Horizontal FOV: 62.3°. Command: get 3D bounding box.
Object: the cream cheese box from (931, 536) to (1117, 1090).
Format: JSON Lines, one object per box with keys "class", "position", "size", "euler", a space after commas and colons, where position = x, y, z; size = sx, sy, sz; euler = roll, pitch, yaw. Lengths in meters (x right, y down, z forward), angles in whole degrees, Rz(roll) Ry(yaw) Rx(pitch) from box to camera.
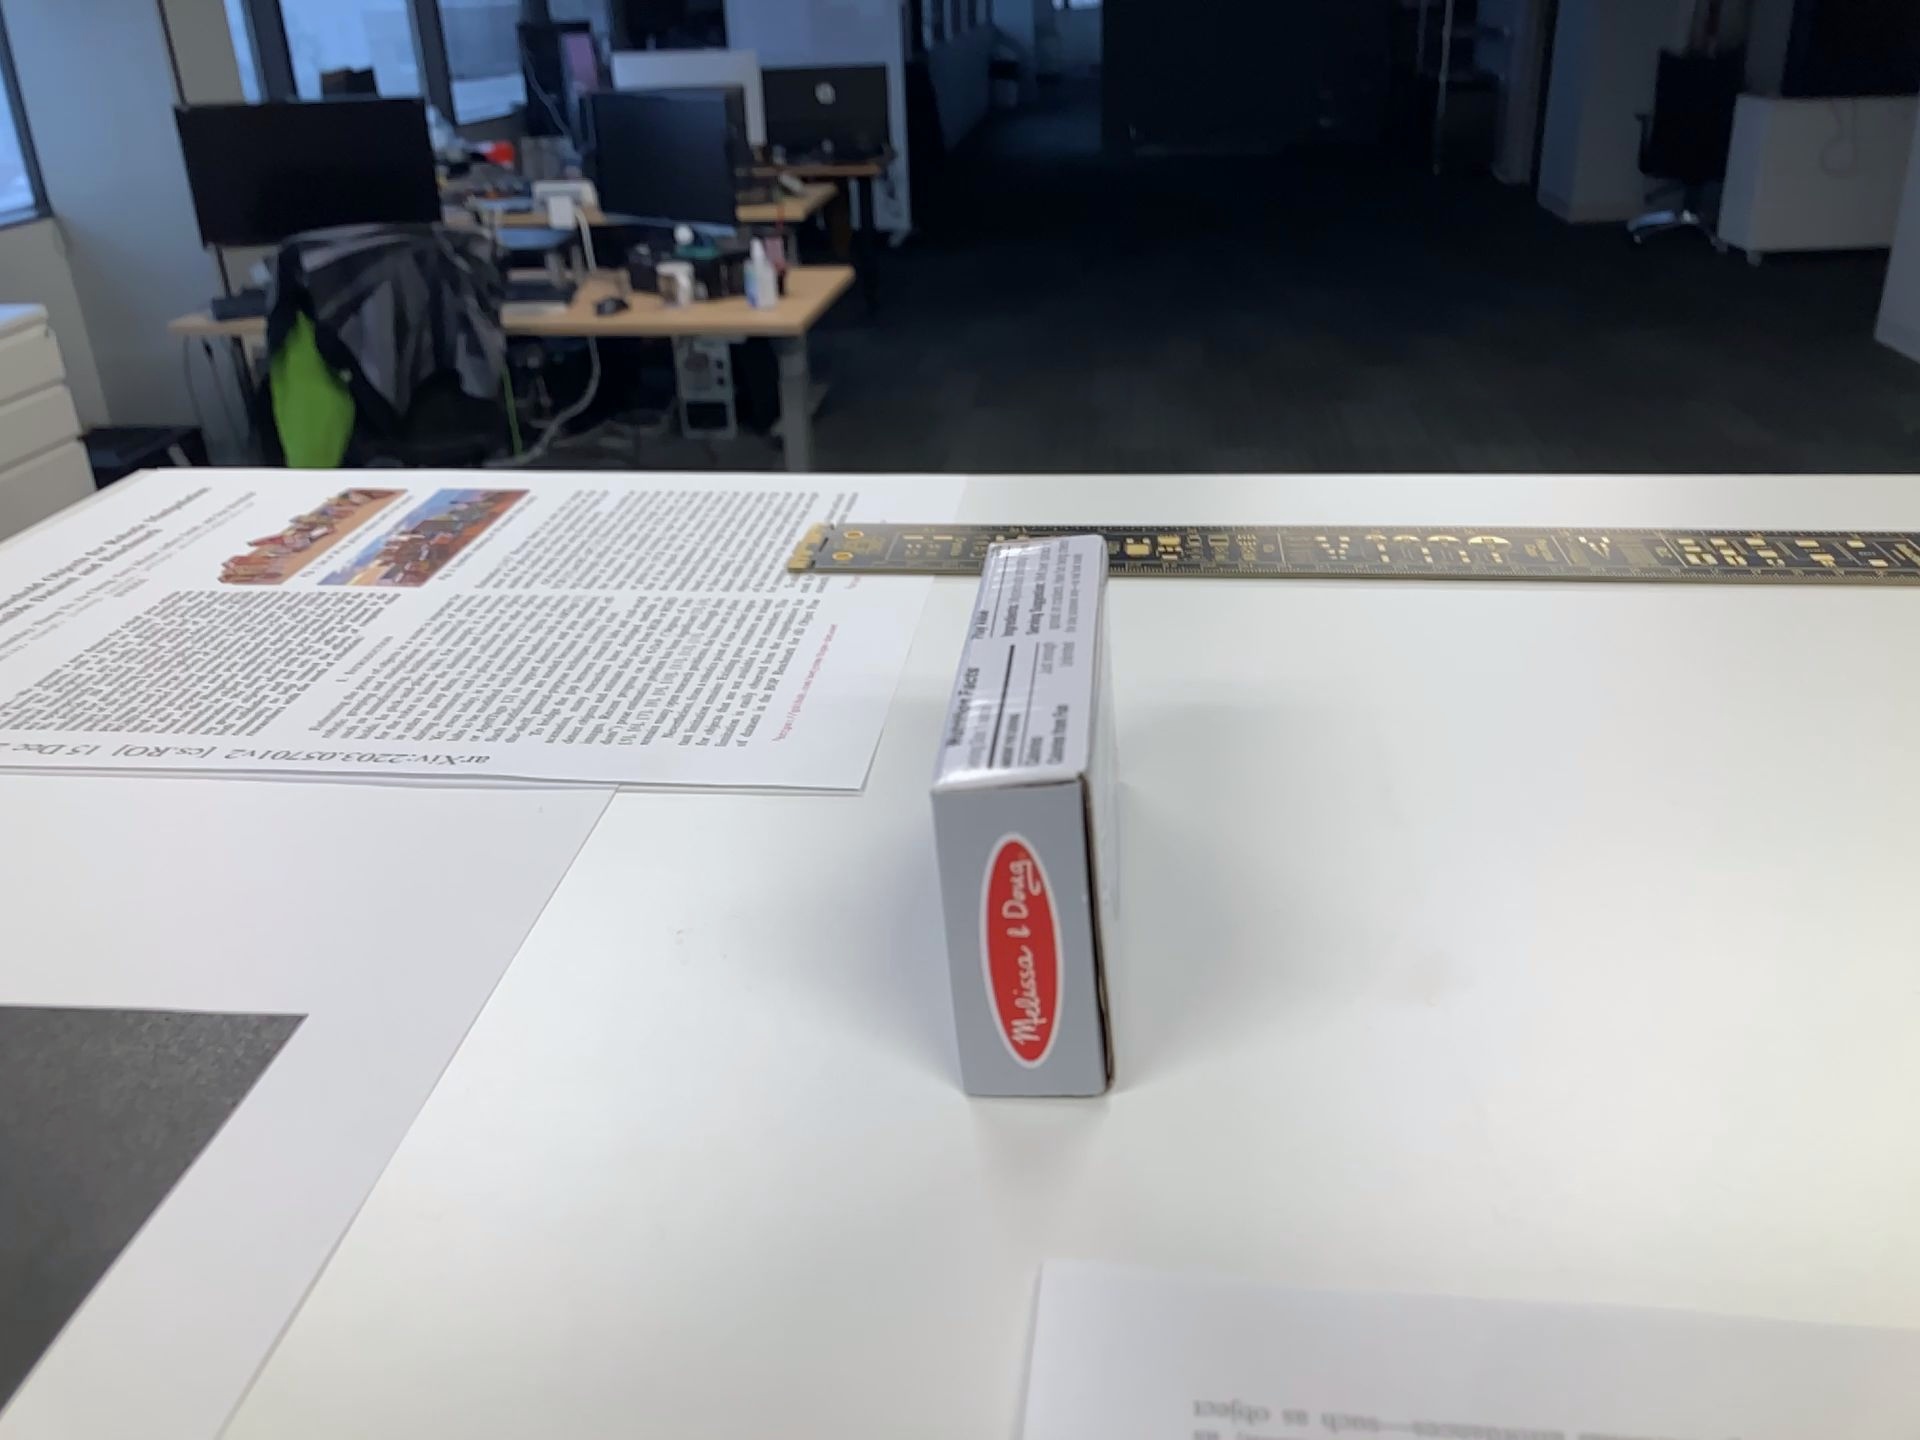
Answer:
{"class": "cream cheese box", "position": [0.014, 0.009, 0.271], "size": [0.024, 0.053, 0.104], "euler": [-1, 25, 6]}
